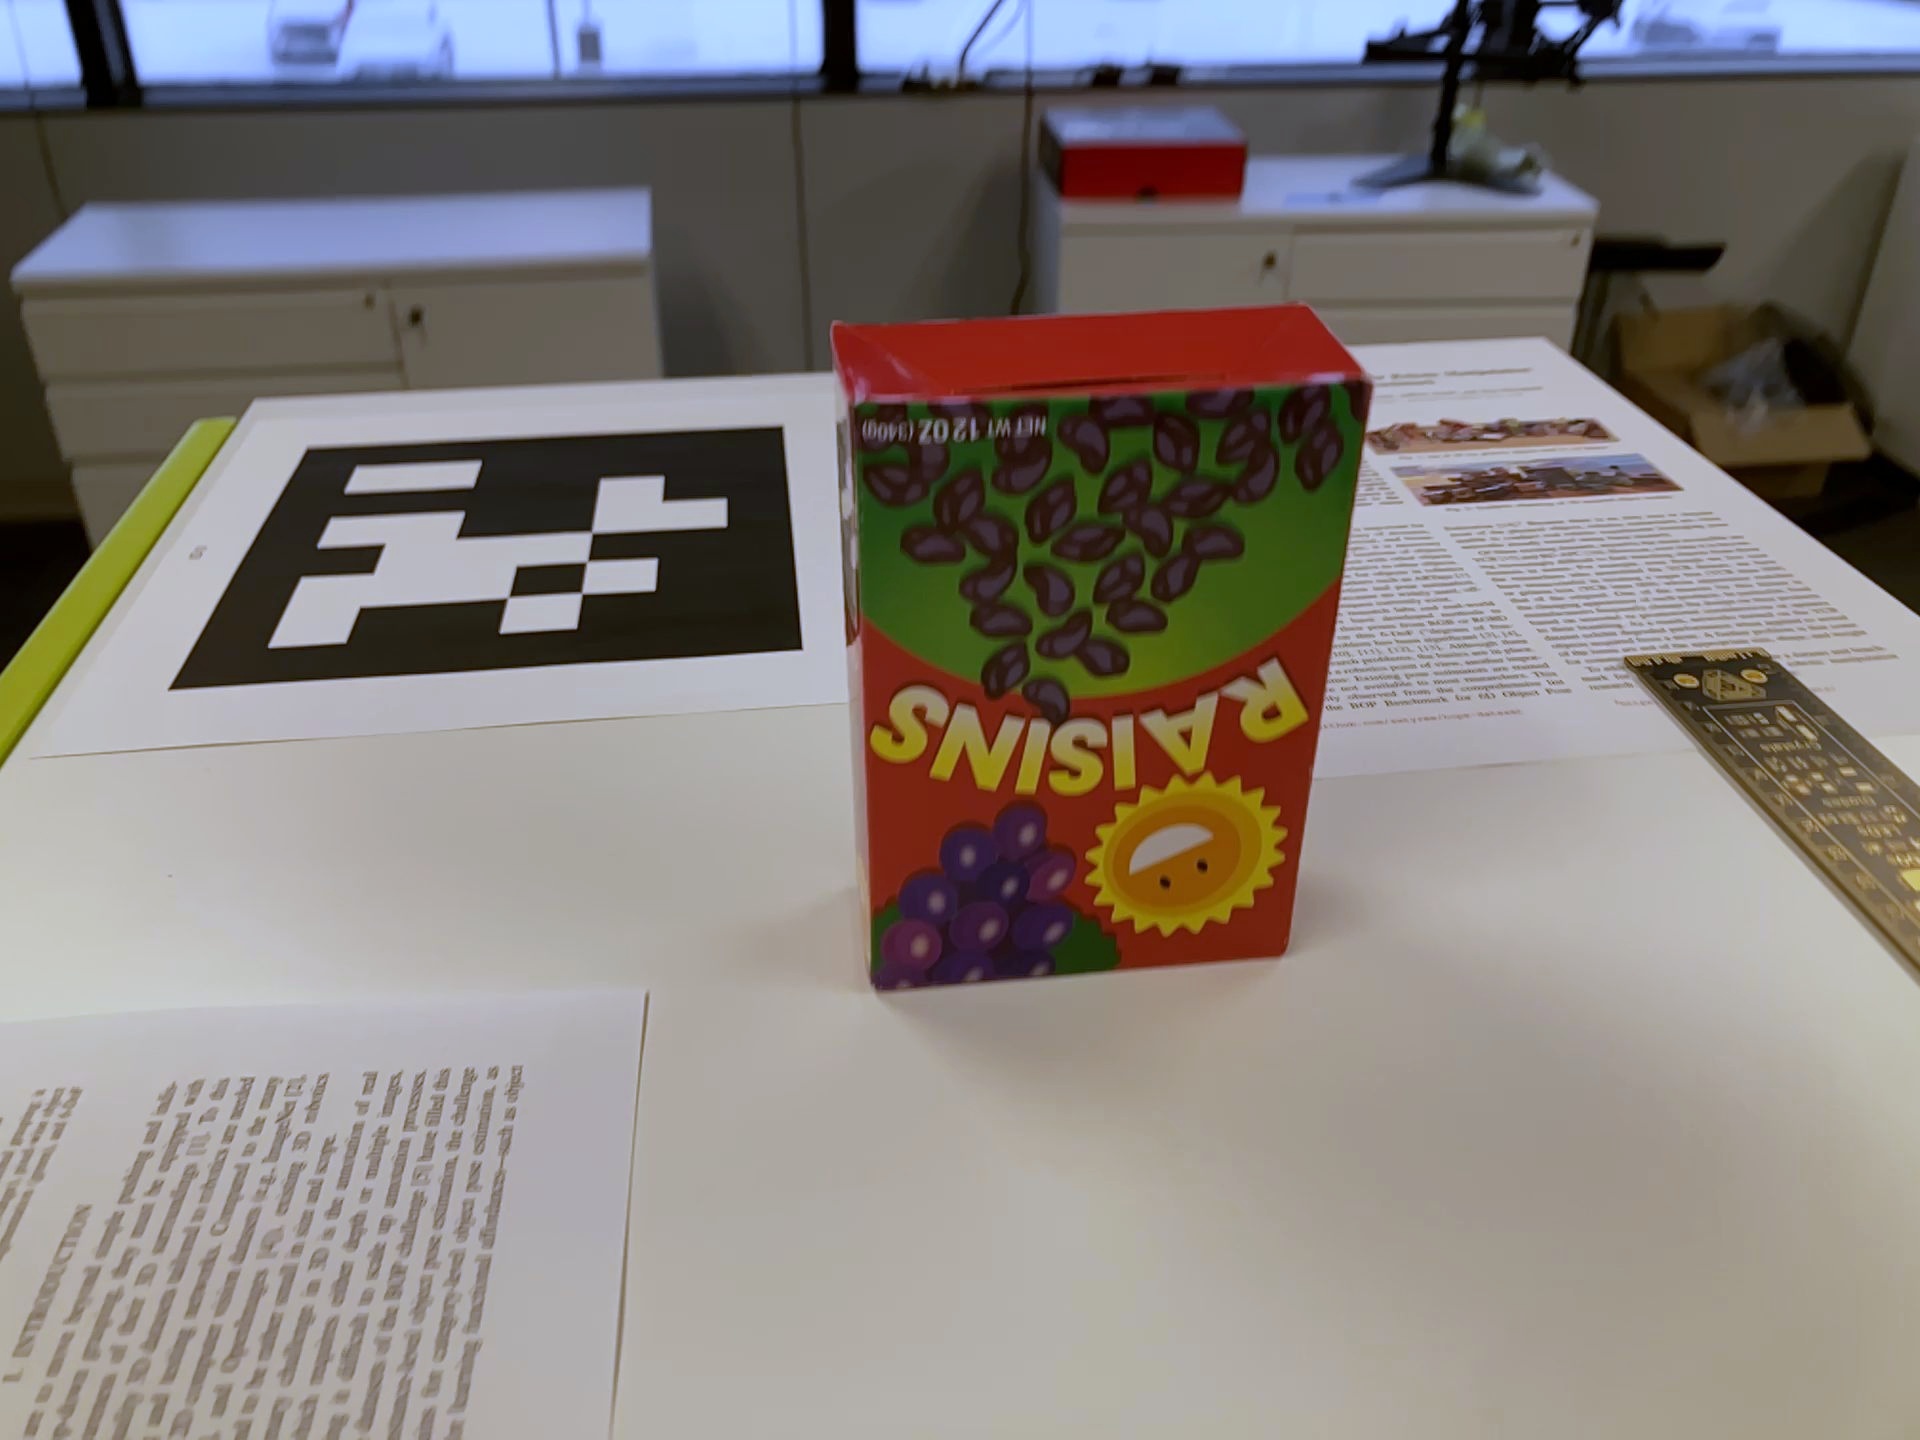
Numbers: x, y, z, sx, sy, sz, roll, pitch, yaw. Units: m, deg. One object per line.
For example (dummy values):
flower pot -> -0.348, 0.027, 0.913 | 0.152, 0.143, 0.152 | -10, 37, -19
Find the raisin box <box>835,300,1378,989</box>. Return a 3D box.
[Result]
raisin box -> 0.021, -0.011, 0.293 | 0.086, 0.123, 0.040 | -4, 33, -7
